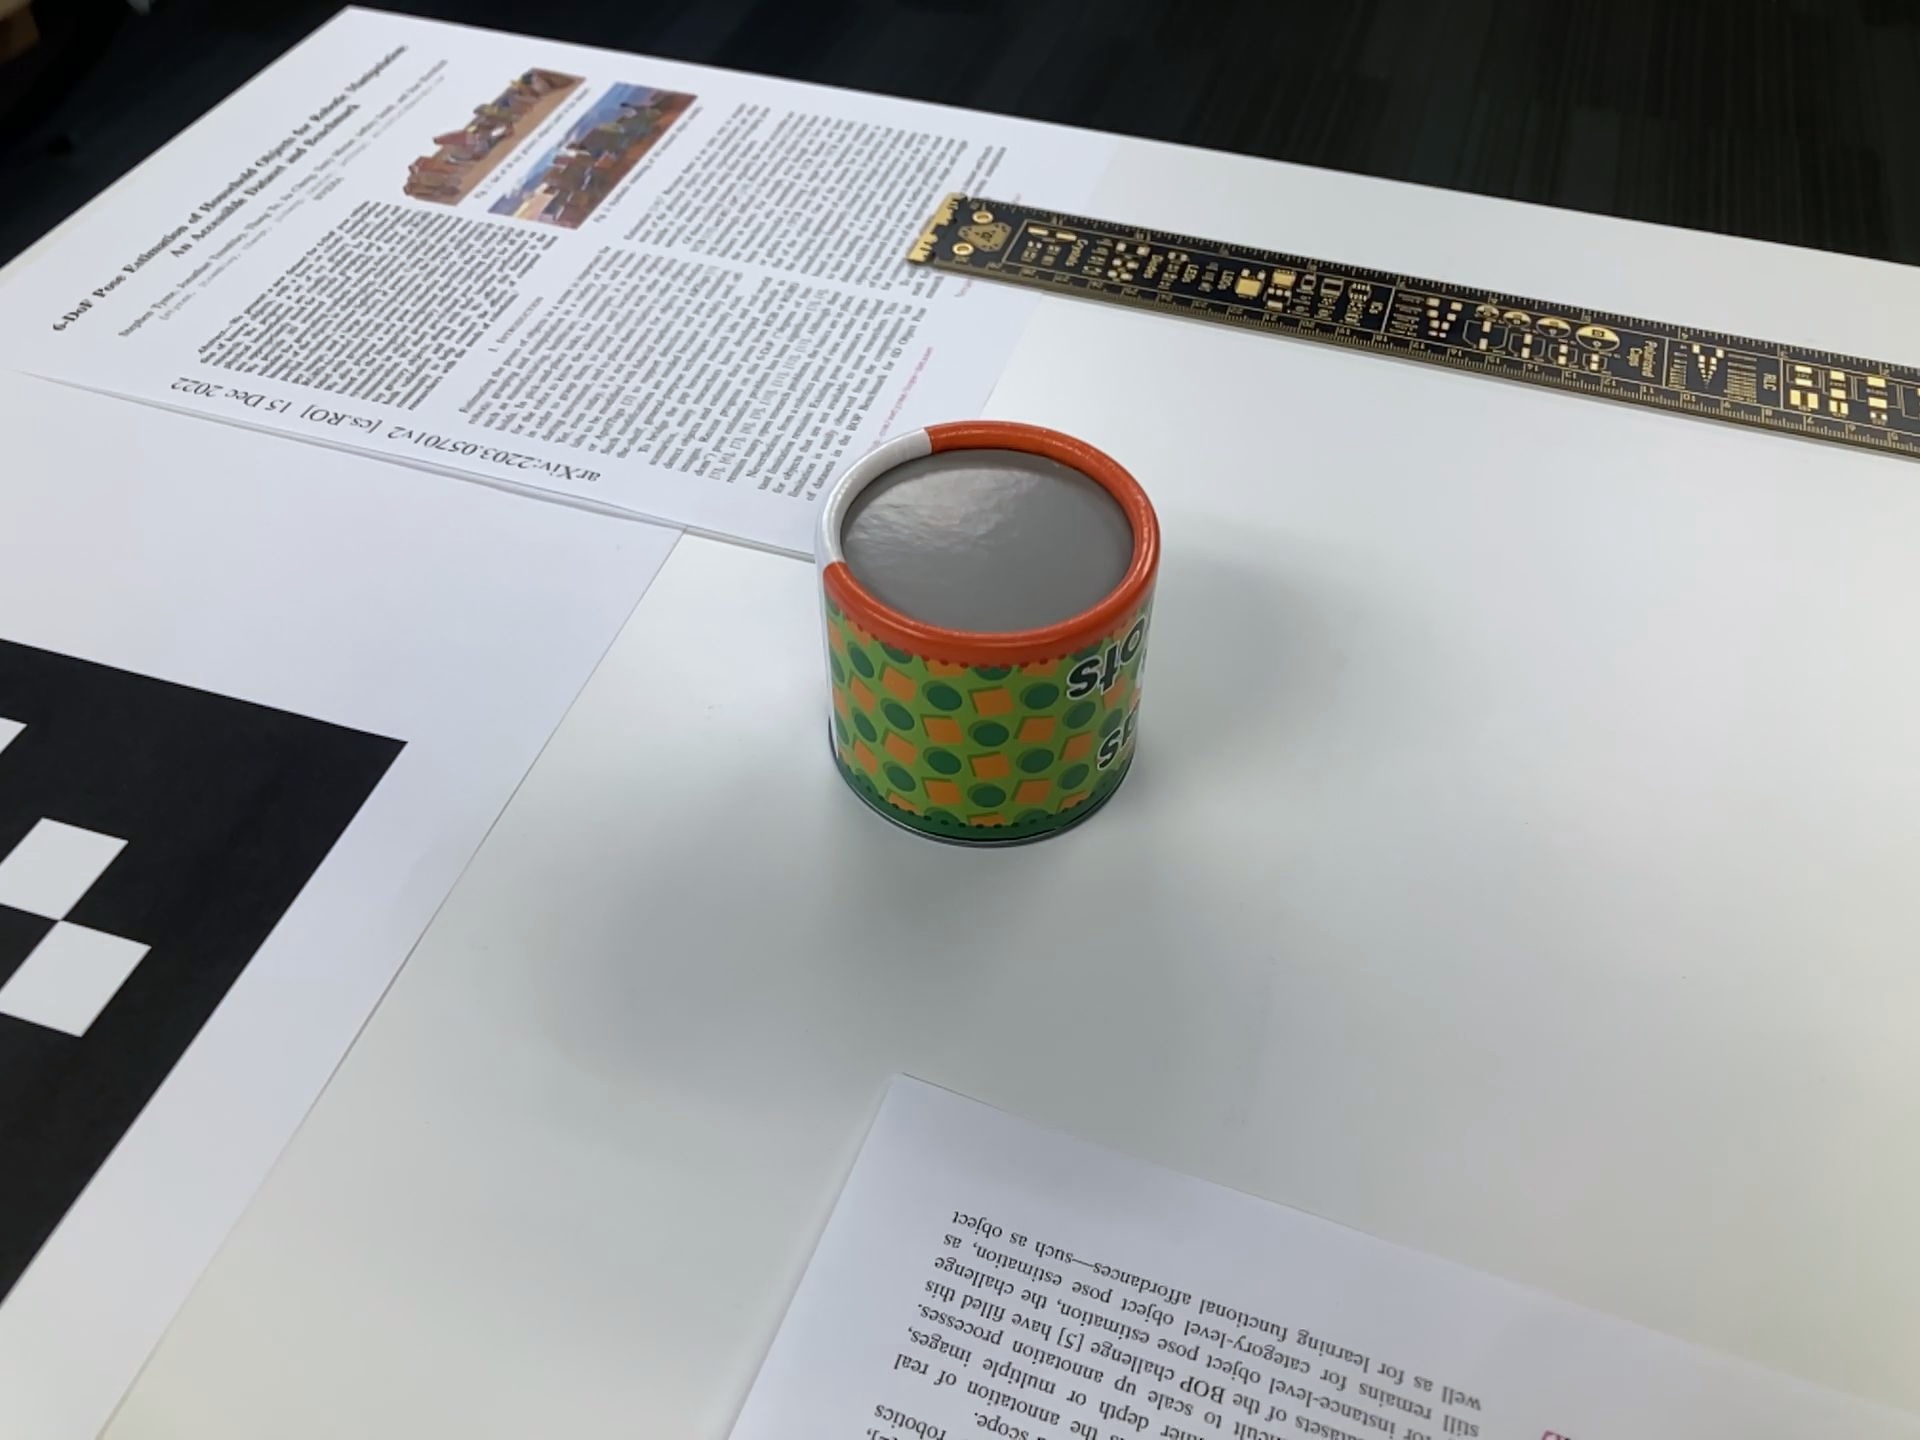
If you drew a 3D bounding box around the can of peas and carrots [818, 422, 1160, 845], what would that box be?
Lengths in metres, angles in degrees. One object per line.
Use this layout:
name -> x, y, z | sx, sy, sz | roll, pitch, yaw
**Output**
can of peas and carrots -> 0.008, -0.018, 0.323 | 0.071, 0.059, 0.071 | 0, 49, 0
